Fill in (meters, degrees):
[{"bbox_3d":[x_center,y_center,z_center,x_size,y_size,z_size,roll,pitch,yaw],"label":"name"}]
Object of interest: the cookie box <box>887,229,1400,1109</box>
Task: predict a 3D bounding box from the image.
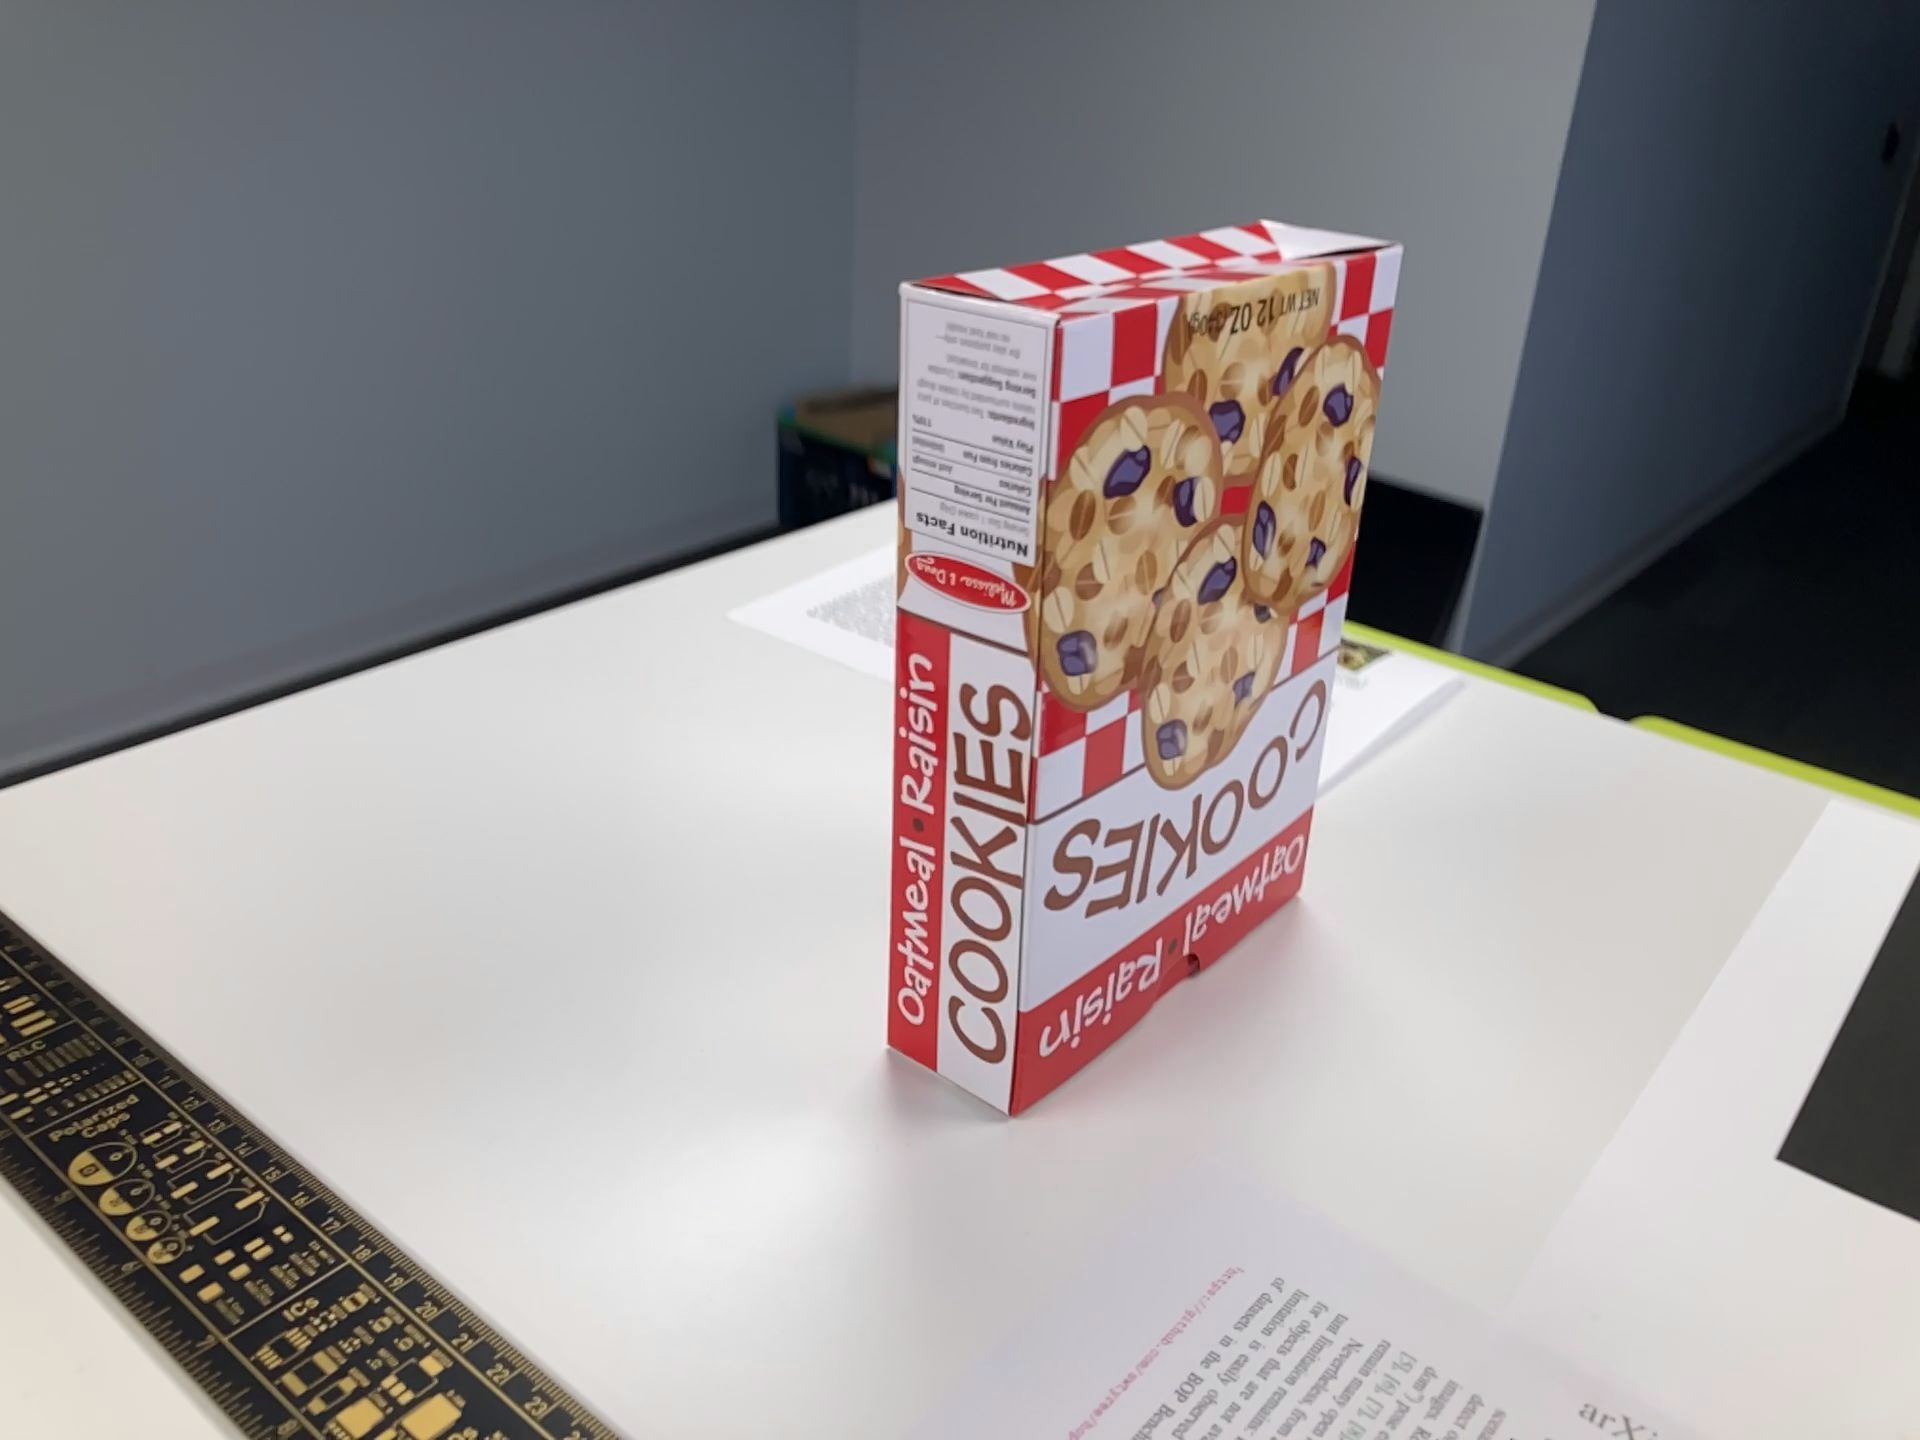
[{"bbox_3d":[0.040,-0.015,0.350,0.040,0.167,0.123,22,31,35],"label":"cookie box"}]
